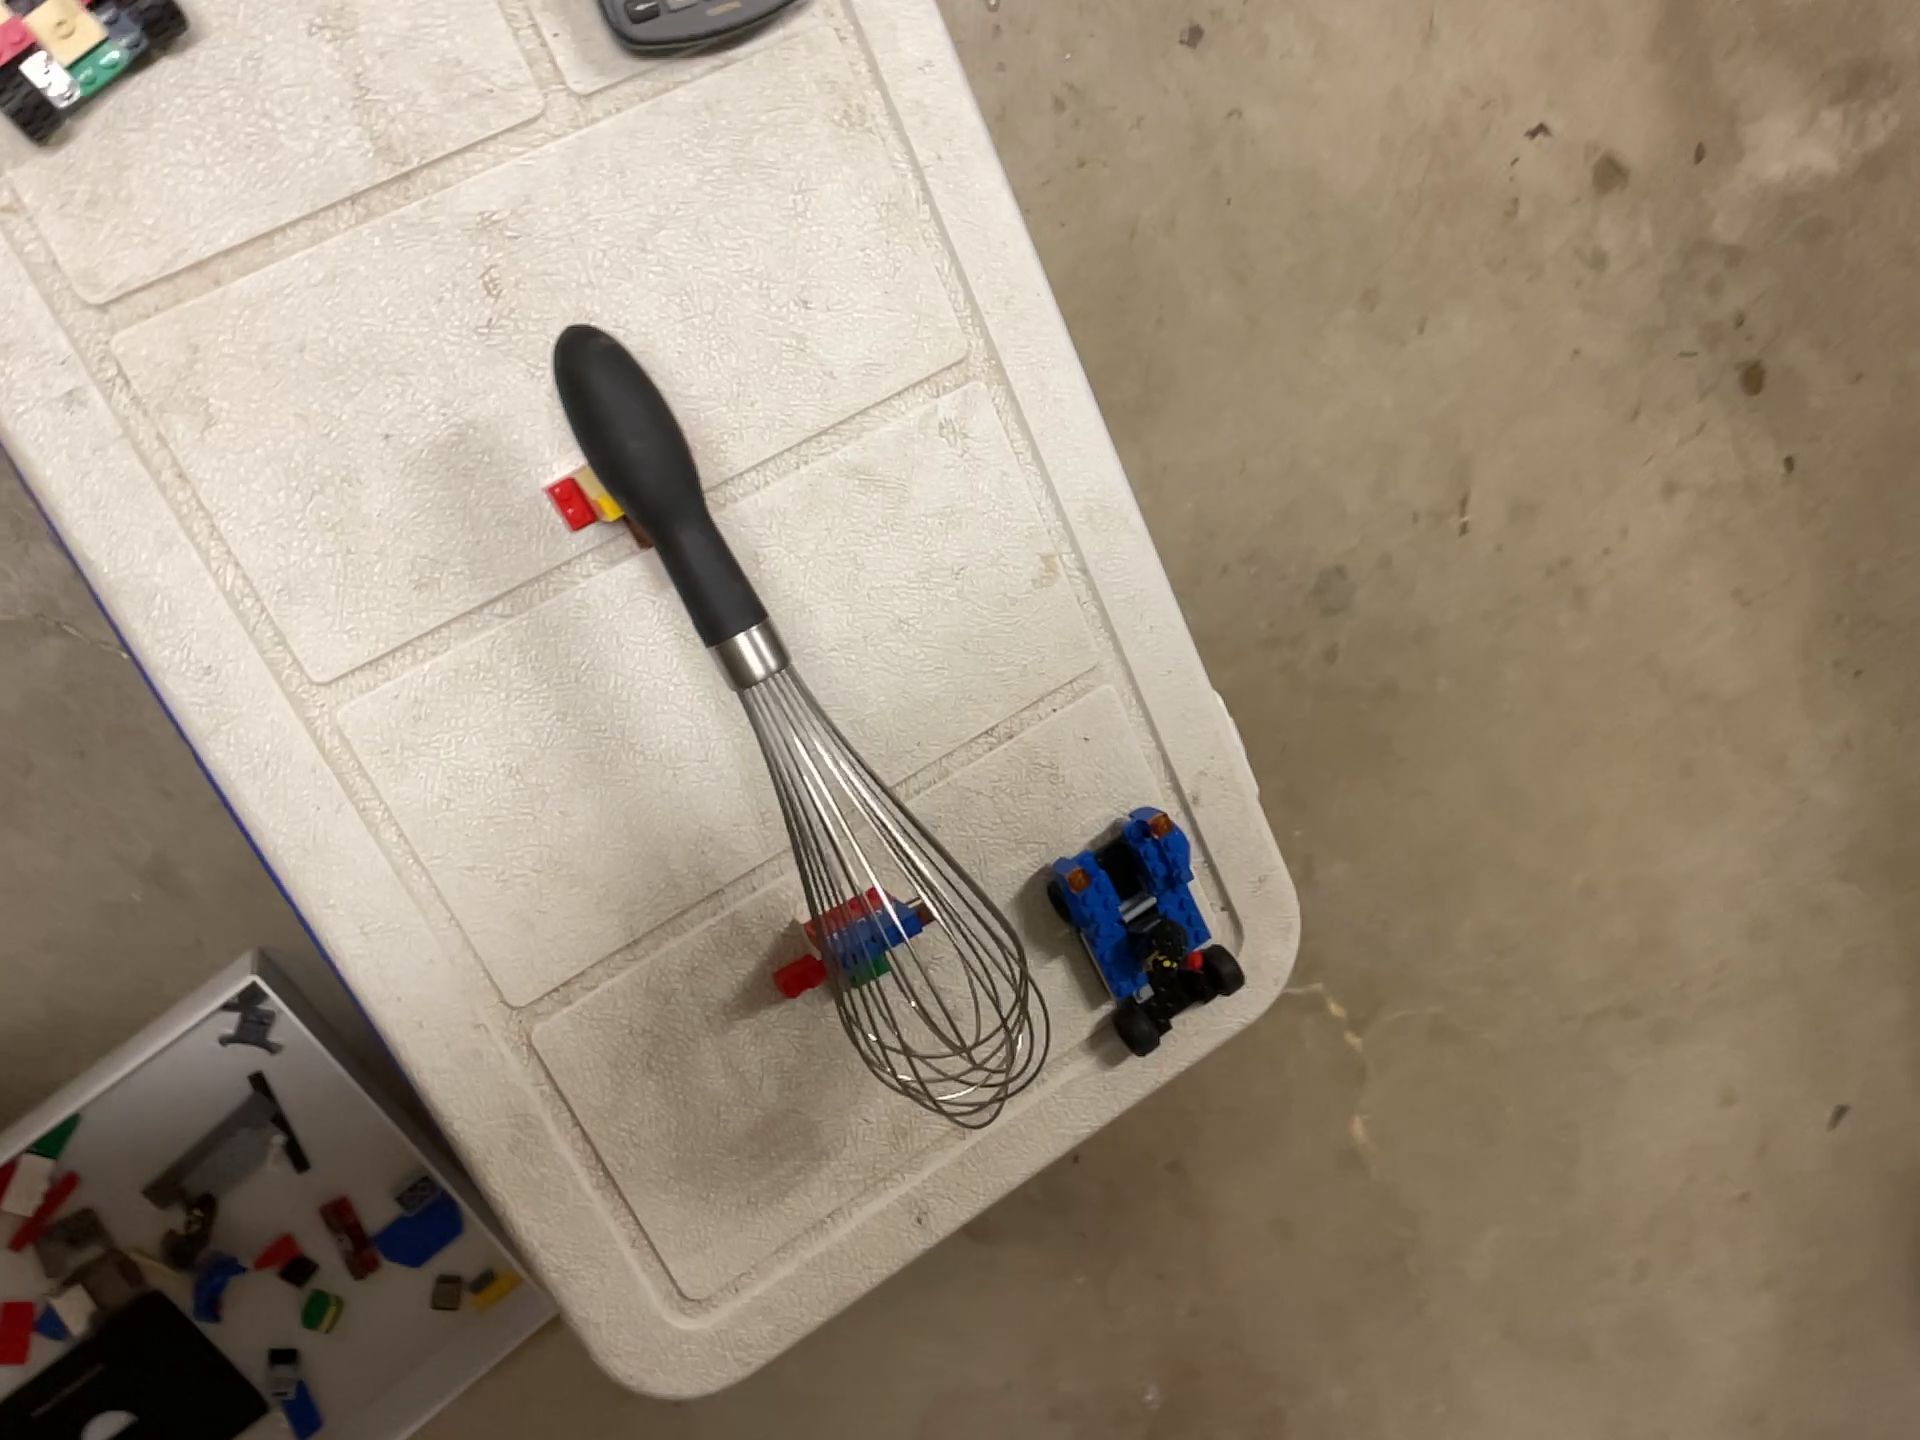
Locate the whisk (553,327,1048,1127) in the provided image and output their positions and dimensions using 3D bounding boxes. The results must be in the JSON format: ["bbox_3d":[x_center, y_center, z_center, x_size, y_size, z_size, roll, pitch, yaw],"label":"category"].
[{"bbox_3d":[-0.052,0.007,0.507,0.070,0.070,0.284,-30,102,-11],"label":"whisk"}]
